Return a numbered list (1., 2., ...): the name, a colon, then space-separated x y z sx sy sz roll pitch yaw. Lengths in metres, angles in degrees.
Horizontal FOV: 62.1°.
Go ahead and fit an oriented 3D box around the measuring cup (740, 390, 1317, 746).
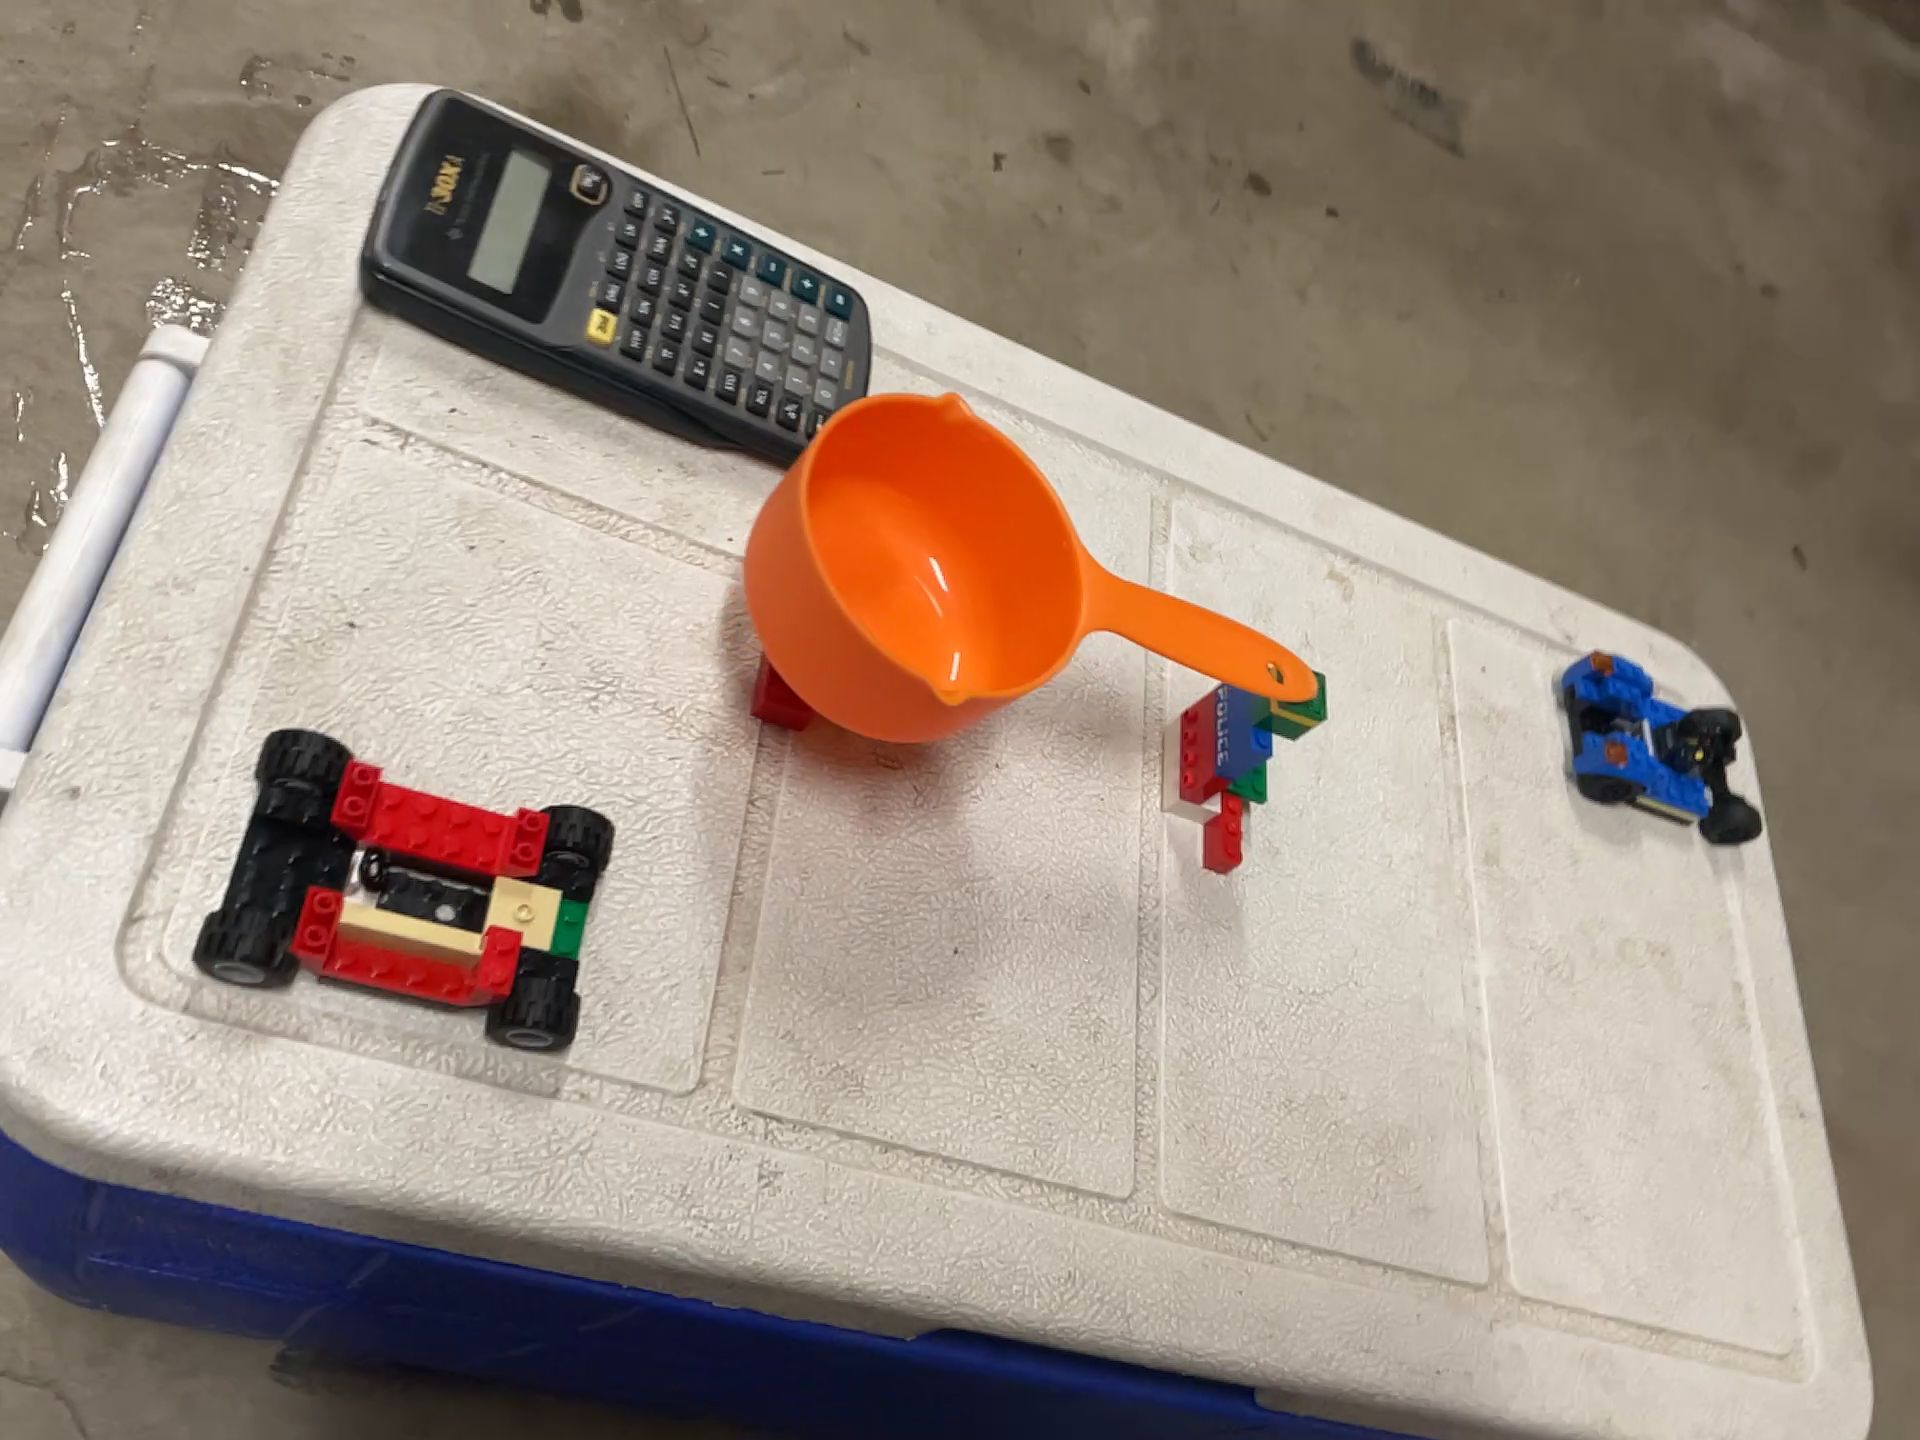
1. measuring cup: 0.020 -0.025 0.445 0.173 0.052 0.095 18 57 -29
